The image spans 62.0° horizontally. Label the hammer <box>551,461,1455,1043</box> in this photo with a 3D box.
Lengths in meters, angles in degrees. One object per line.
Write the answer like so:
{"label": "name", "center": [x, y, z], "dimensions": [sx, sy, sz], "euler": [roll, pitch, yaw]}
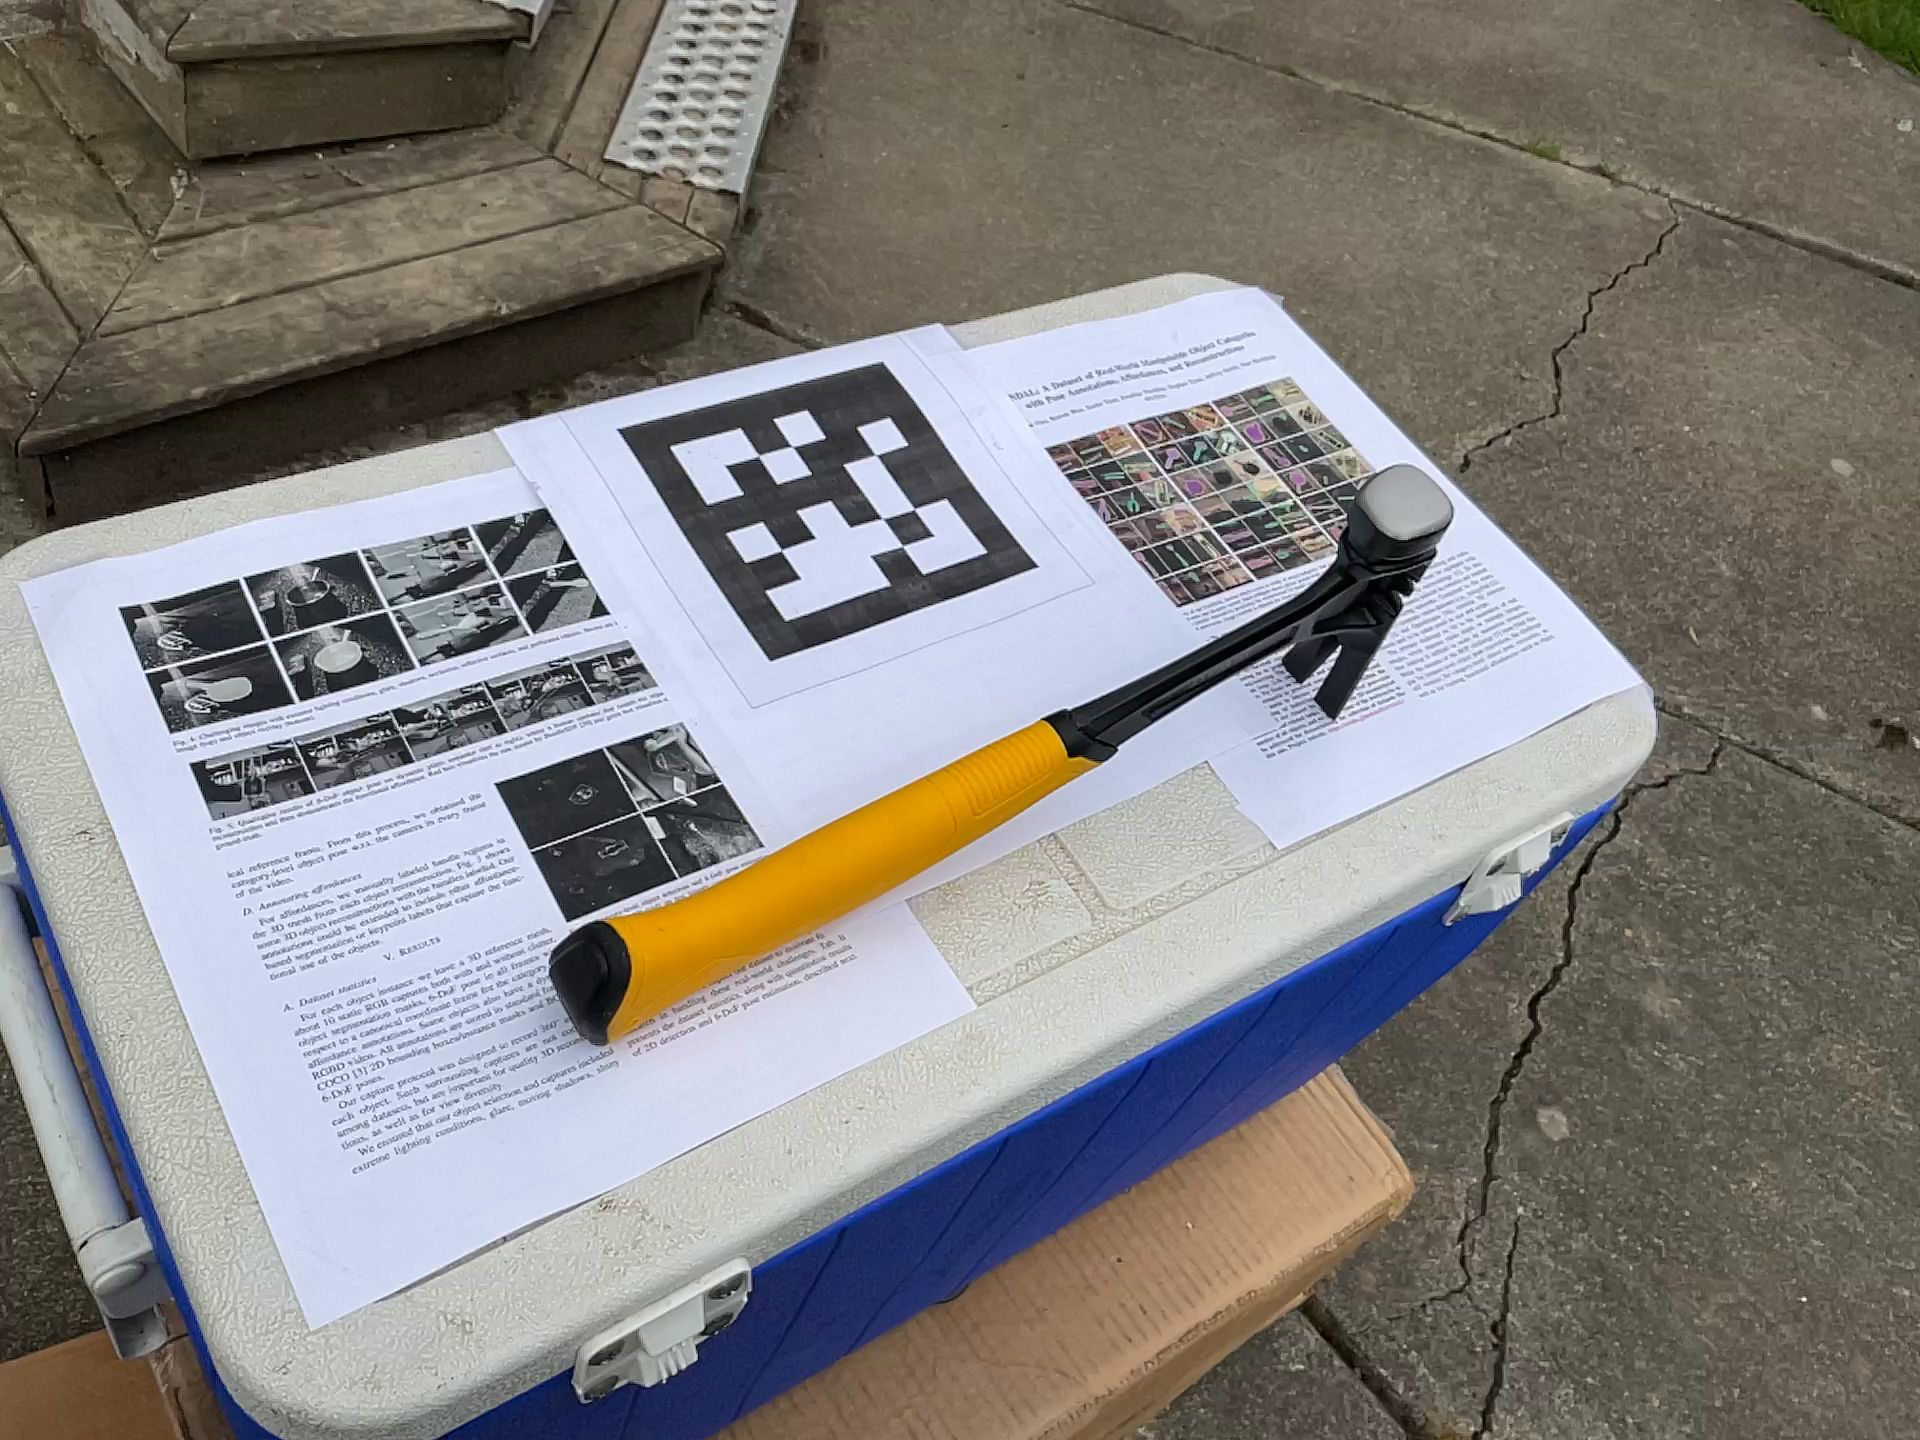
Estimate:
{"label": "hammer", "center": [0.021, 0.019, 0.547], "dimensions": [0.337, 0.127, 0.034], "euler": [-27, 64, -21]}
